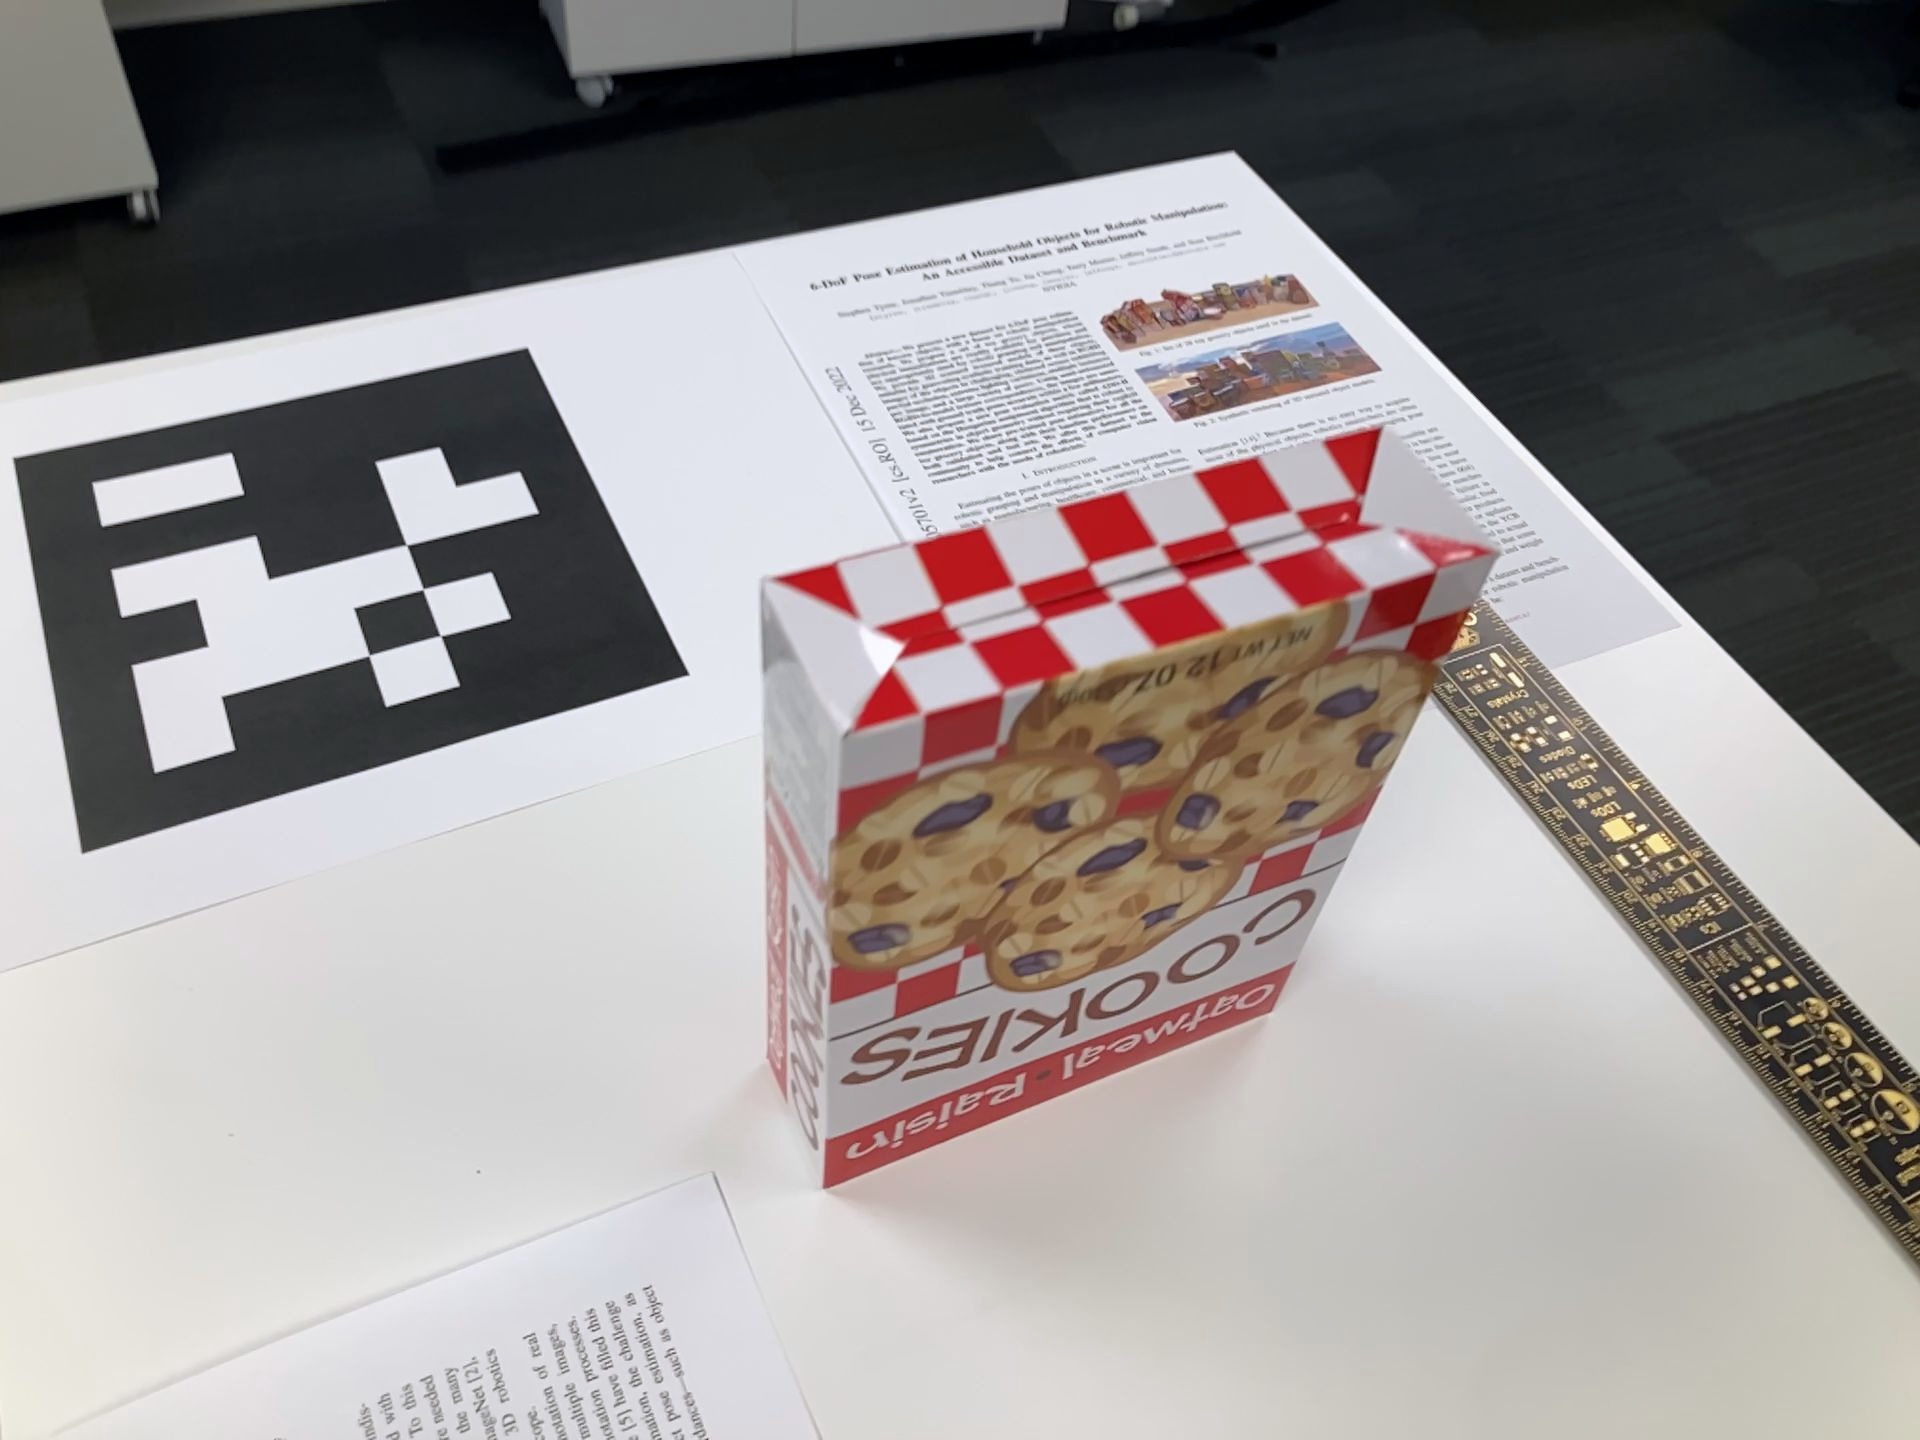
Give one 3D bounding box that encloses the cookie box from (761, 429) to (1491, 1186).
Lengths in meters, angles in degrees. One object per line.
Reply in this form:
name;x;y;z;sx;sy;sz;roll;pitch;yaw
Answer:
cookie box;0.023;0.026;0.331;0.123;0.167;0.040;-16;54;-18
